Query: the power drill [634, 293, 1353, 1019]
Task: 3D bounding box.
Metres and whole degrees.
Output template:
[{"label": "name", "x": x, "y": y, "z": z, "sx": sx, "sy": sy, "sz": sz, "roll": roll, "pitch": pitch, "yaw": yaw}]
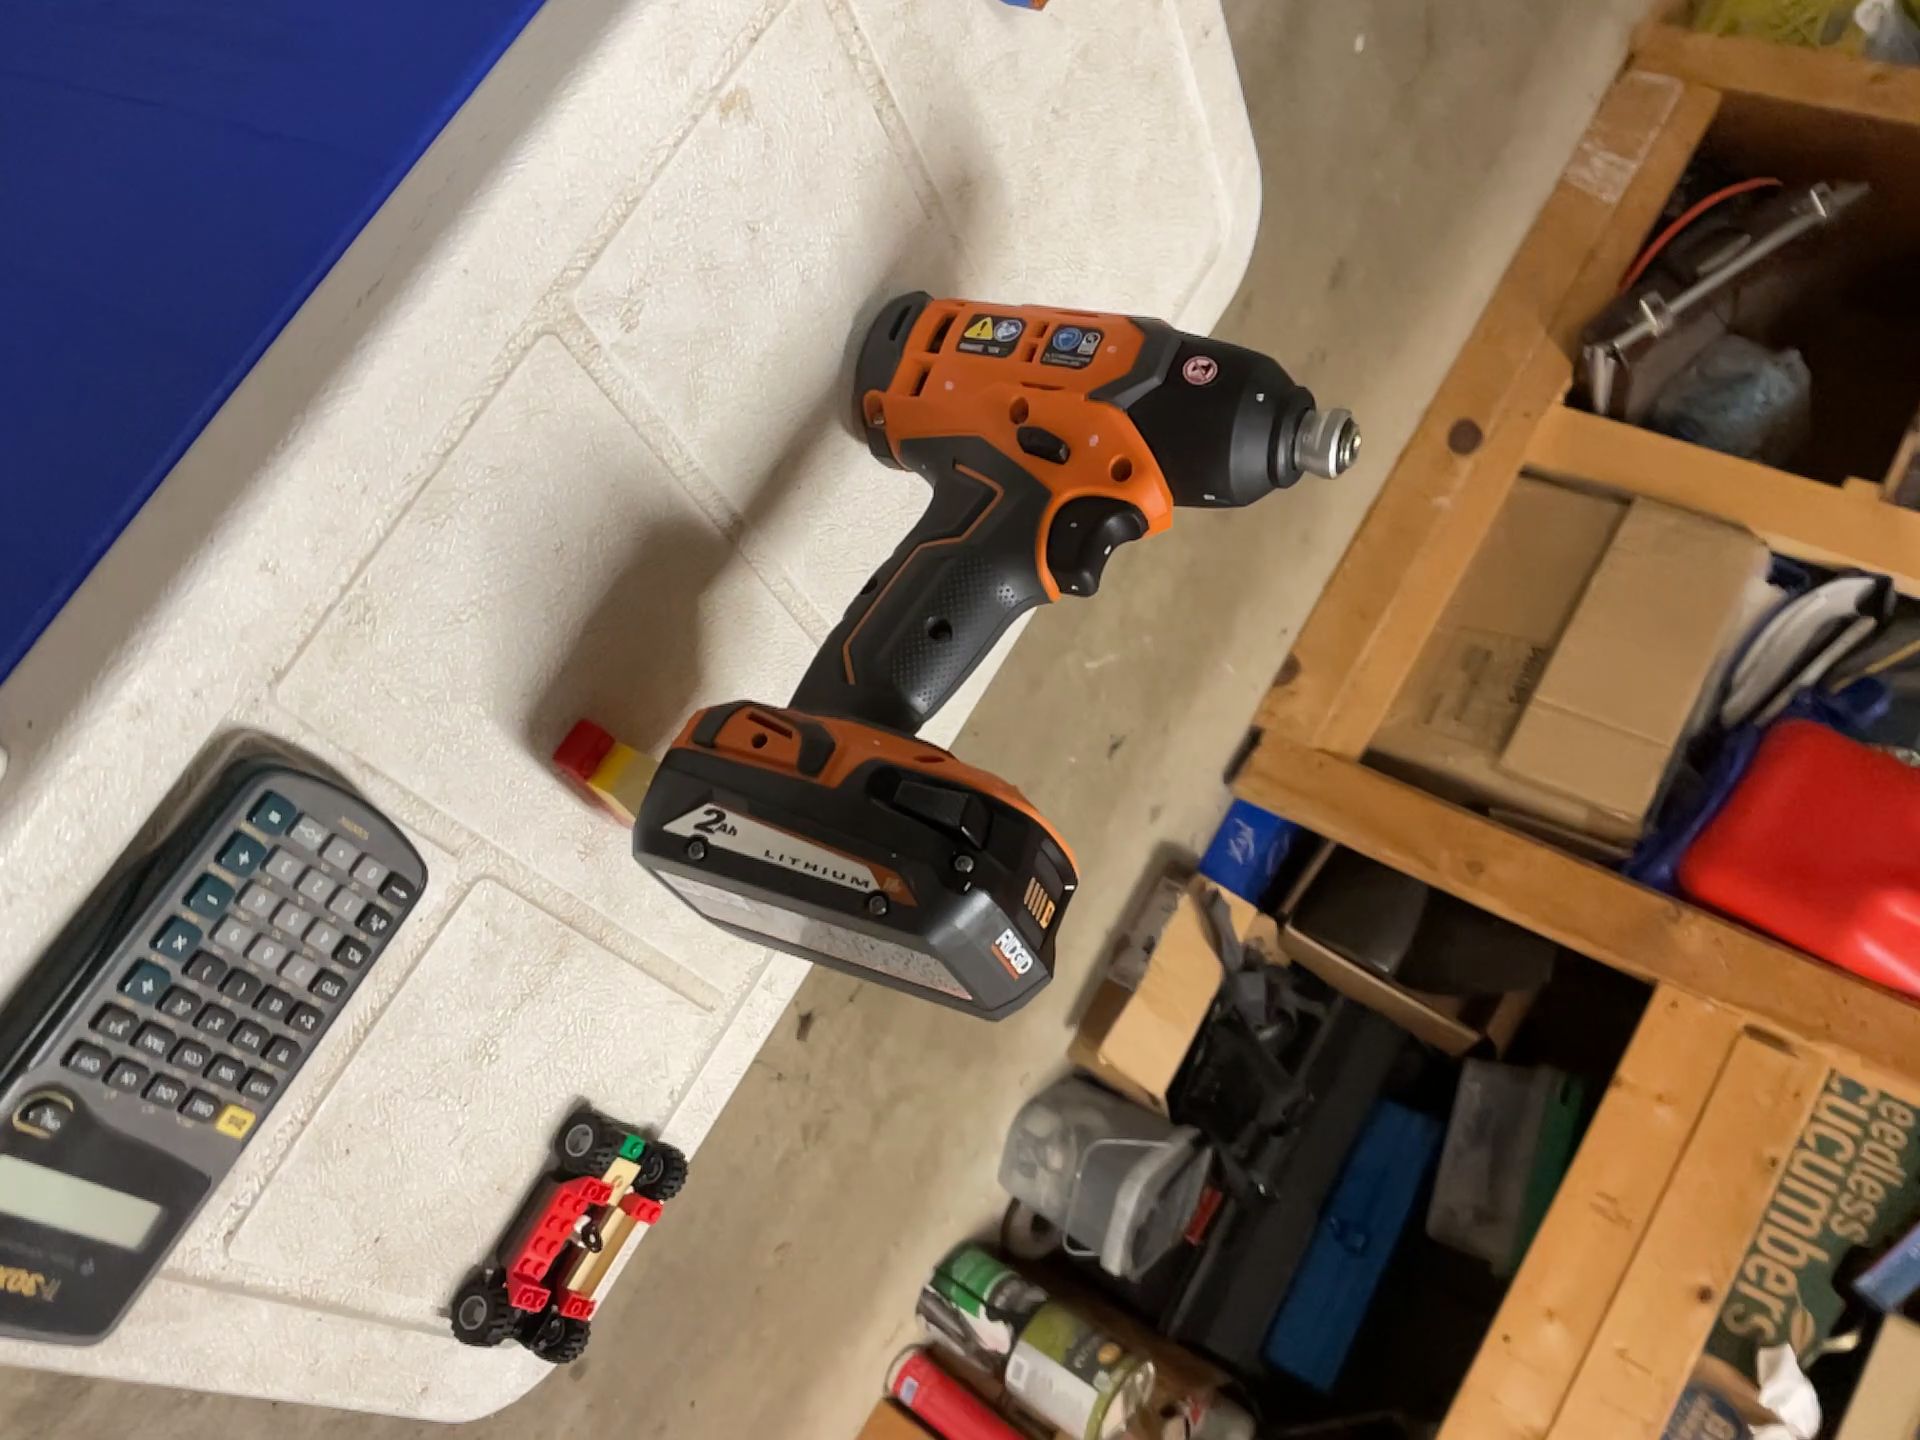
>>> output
[{"label": "power drill", "x": 0.015, "y": -0.031, "z": 0.491, "sx": 0.227, "sy": 0.164, "sz": 0.084, "roll": -66, "pitch": 152, "yaw": -21}]
